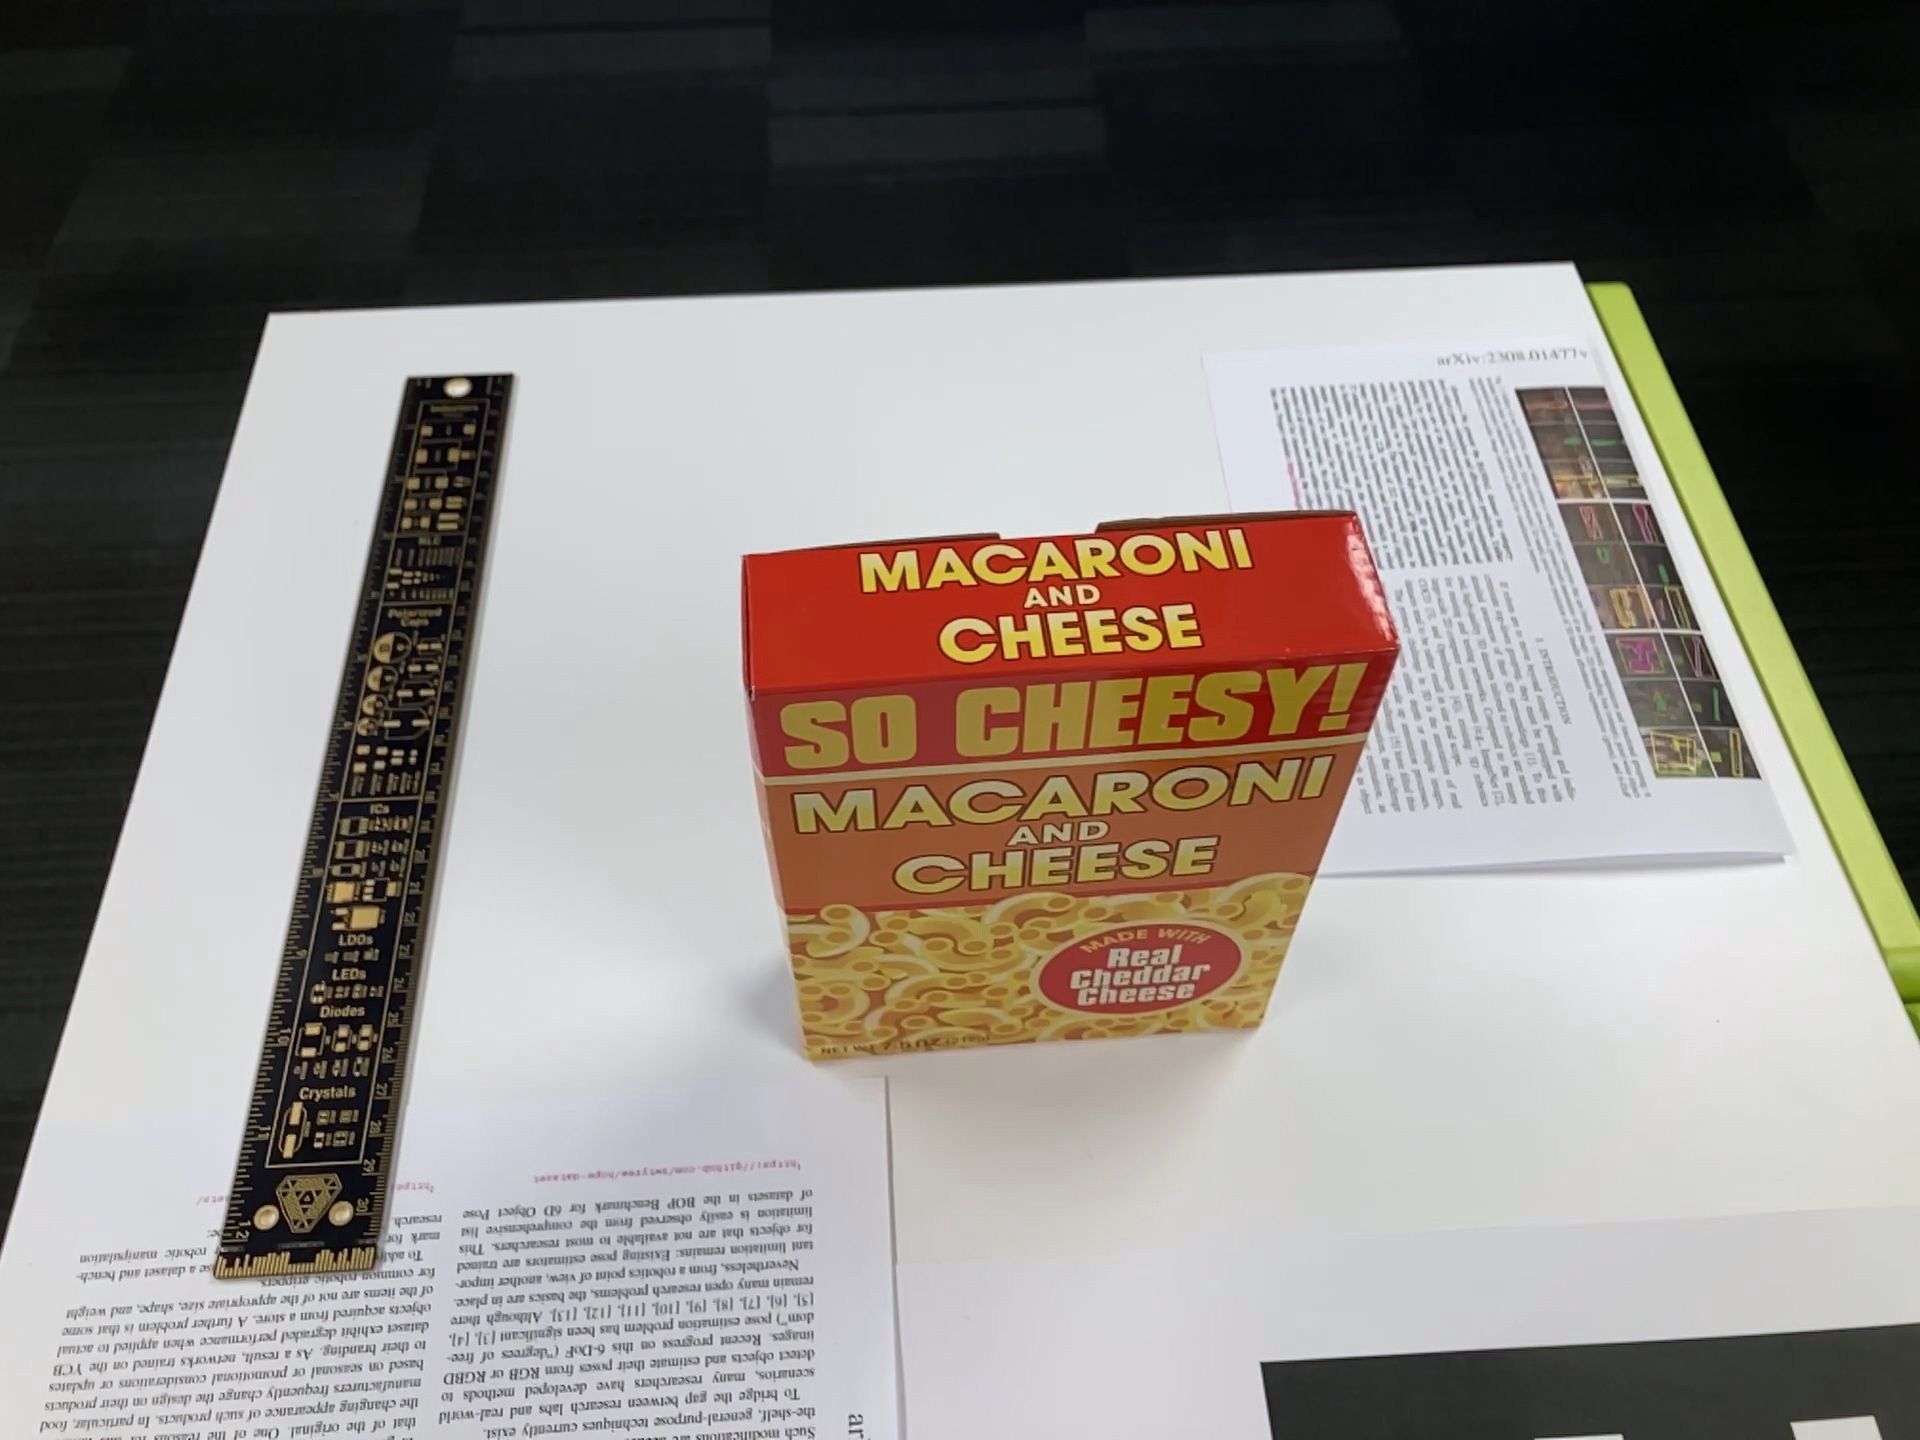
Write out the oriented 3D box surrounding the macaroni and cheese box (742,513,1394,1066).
[{"bbox_3d":[0.019,0.024,0.369,0.124,0.166,0.040,-5,55,-4],"label":"macaroni and cheese box"}]
